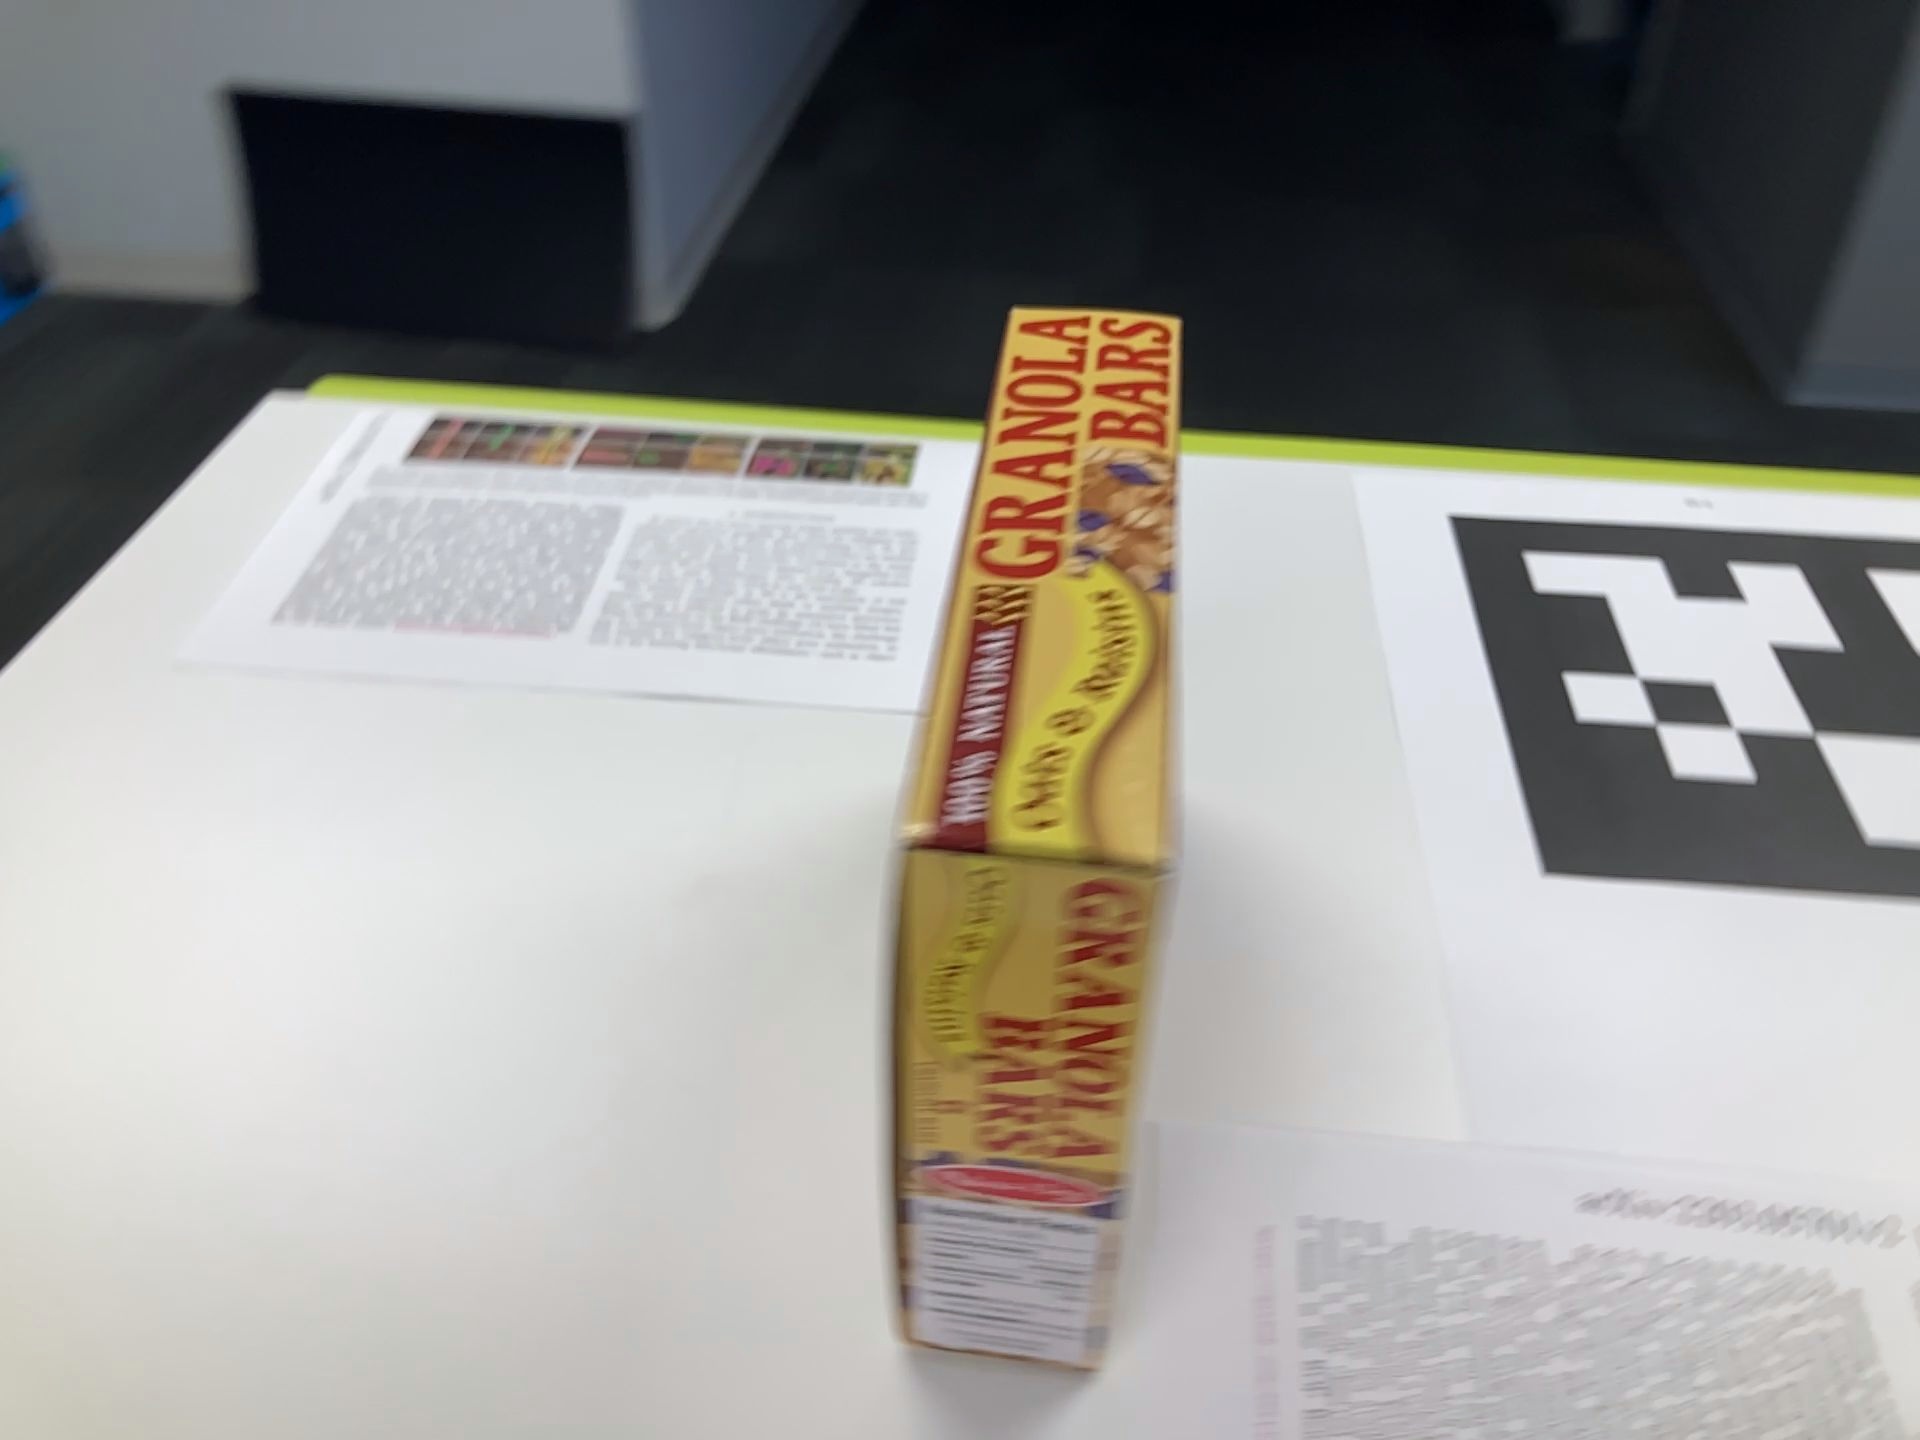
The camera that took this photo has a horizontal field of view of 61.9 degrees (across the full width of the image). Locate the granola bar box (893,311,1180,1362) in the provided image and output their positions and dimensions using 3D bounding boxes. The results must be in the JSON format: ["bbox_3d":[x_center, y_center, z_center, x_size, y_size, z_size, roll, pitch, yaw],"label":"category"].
[{"bbox_3d":[0.017,0.014,0.310,0.039,0.124,0.165,5,39,4],"label":"granola bar box"}]
